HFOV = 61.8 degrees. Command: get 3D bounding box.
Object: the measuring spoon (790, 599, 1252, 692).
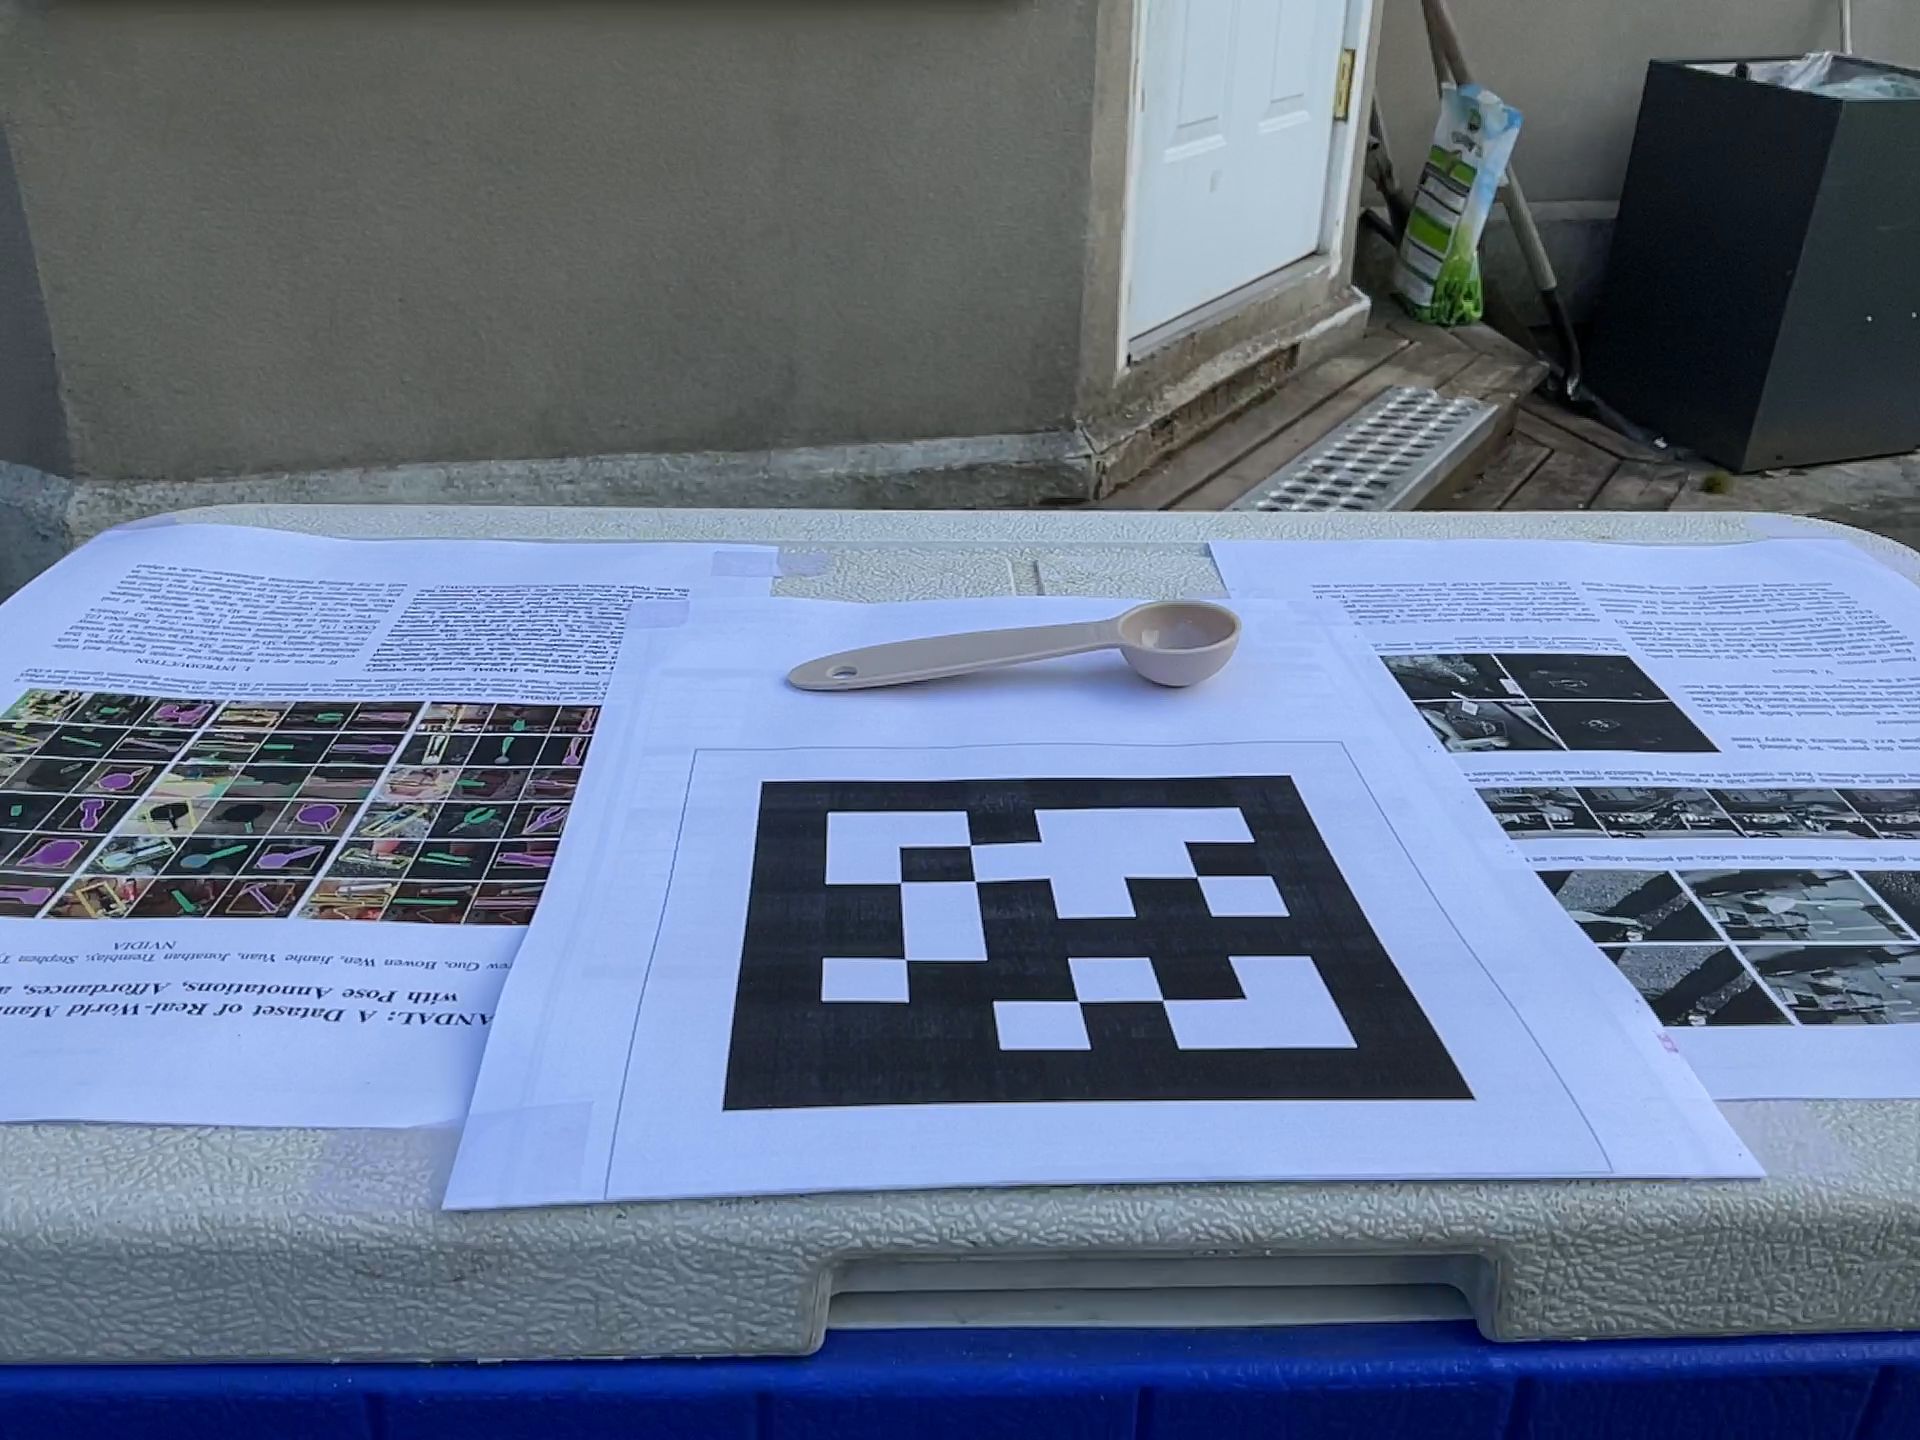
[{"bbox_3d":[0.017,-0.013,0.433,0.124,0.018,0.034,-6,29,0],"label":"measuring spoon"}]
